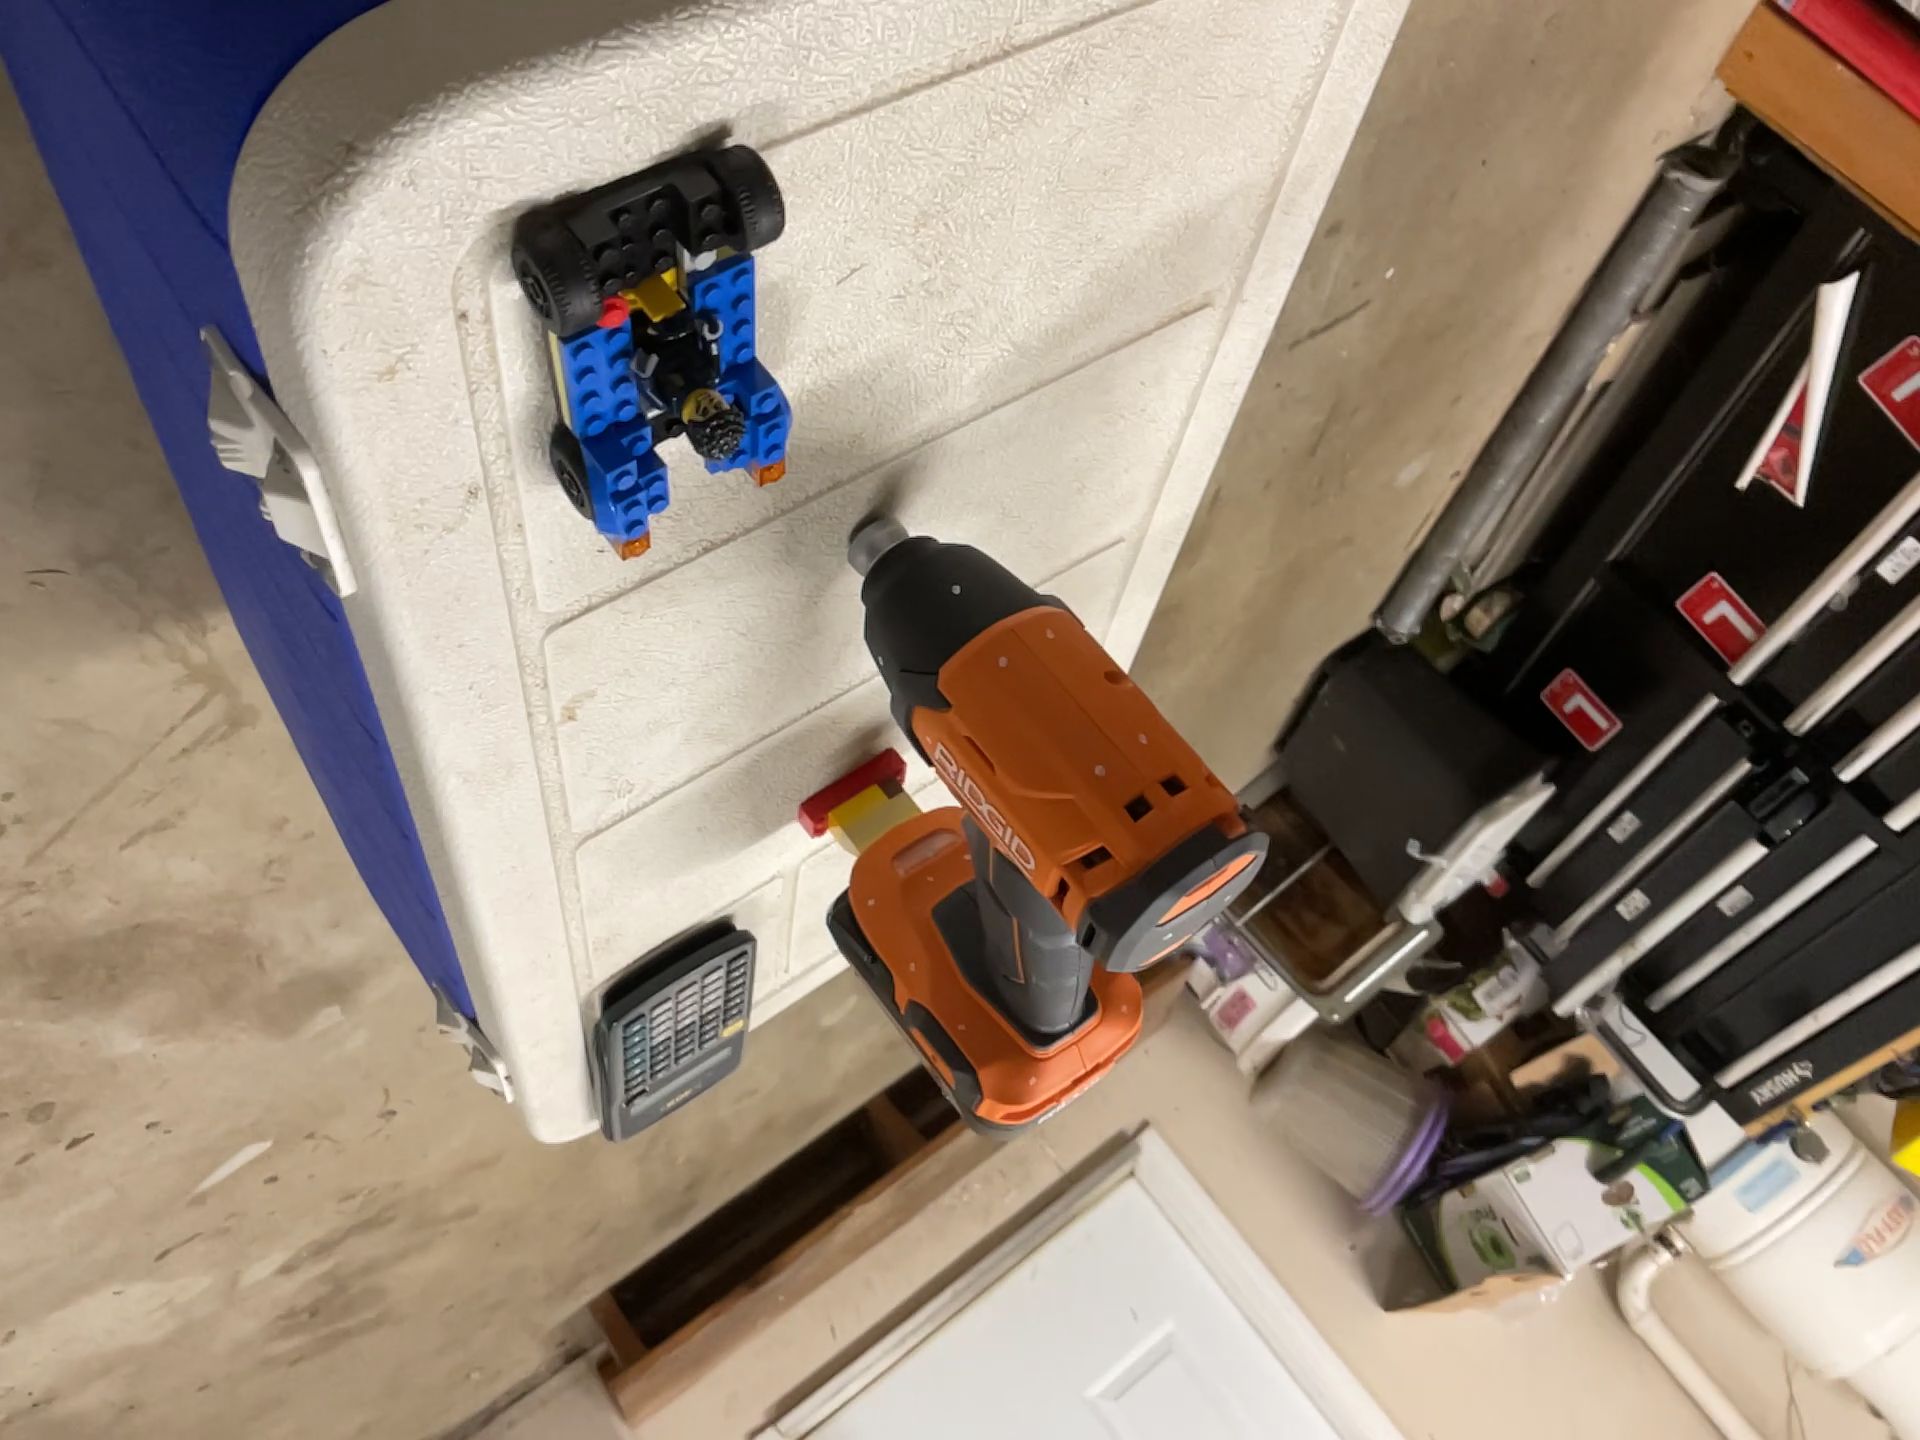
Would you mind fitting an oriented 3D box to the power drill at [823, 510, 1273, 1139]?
[{"bbox_3d":[0.009,0.039,0.545,0.084,0.164,0.226,-30,157,-23],"label":"power drill"}]
